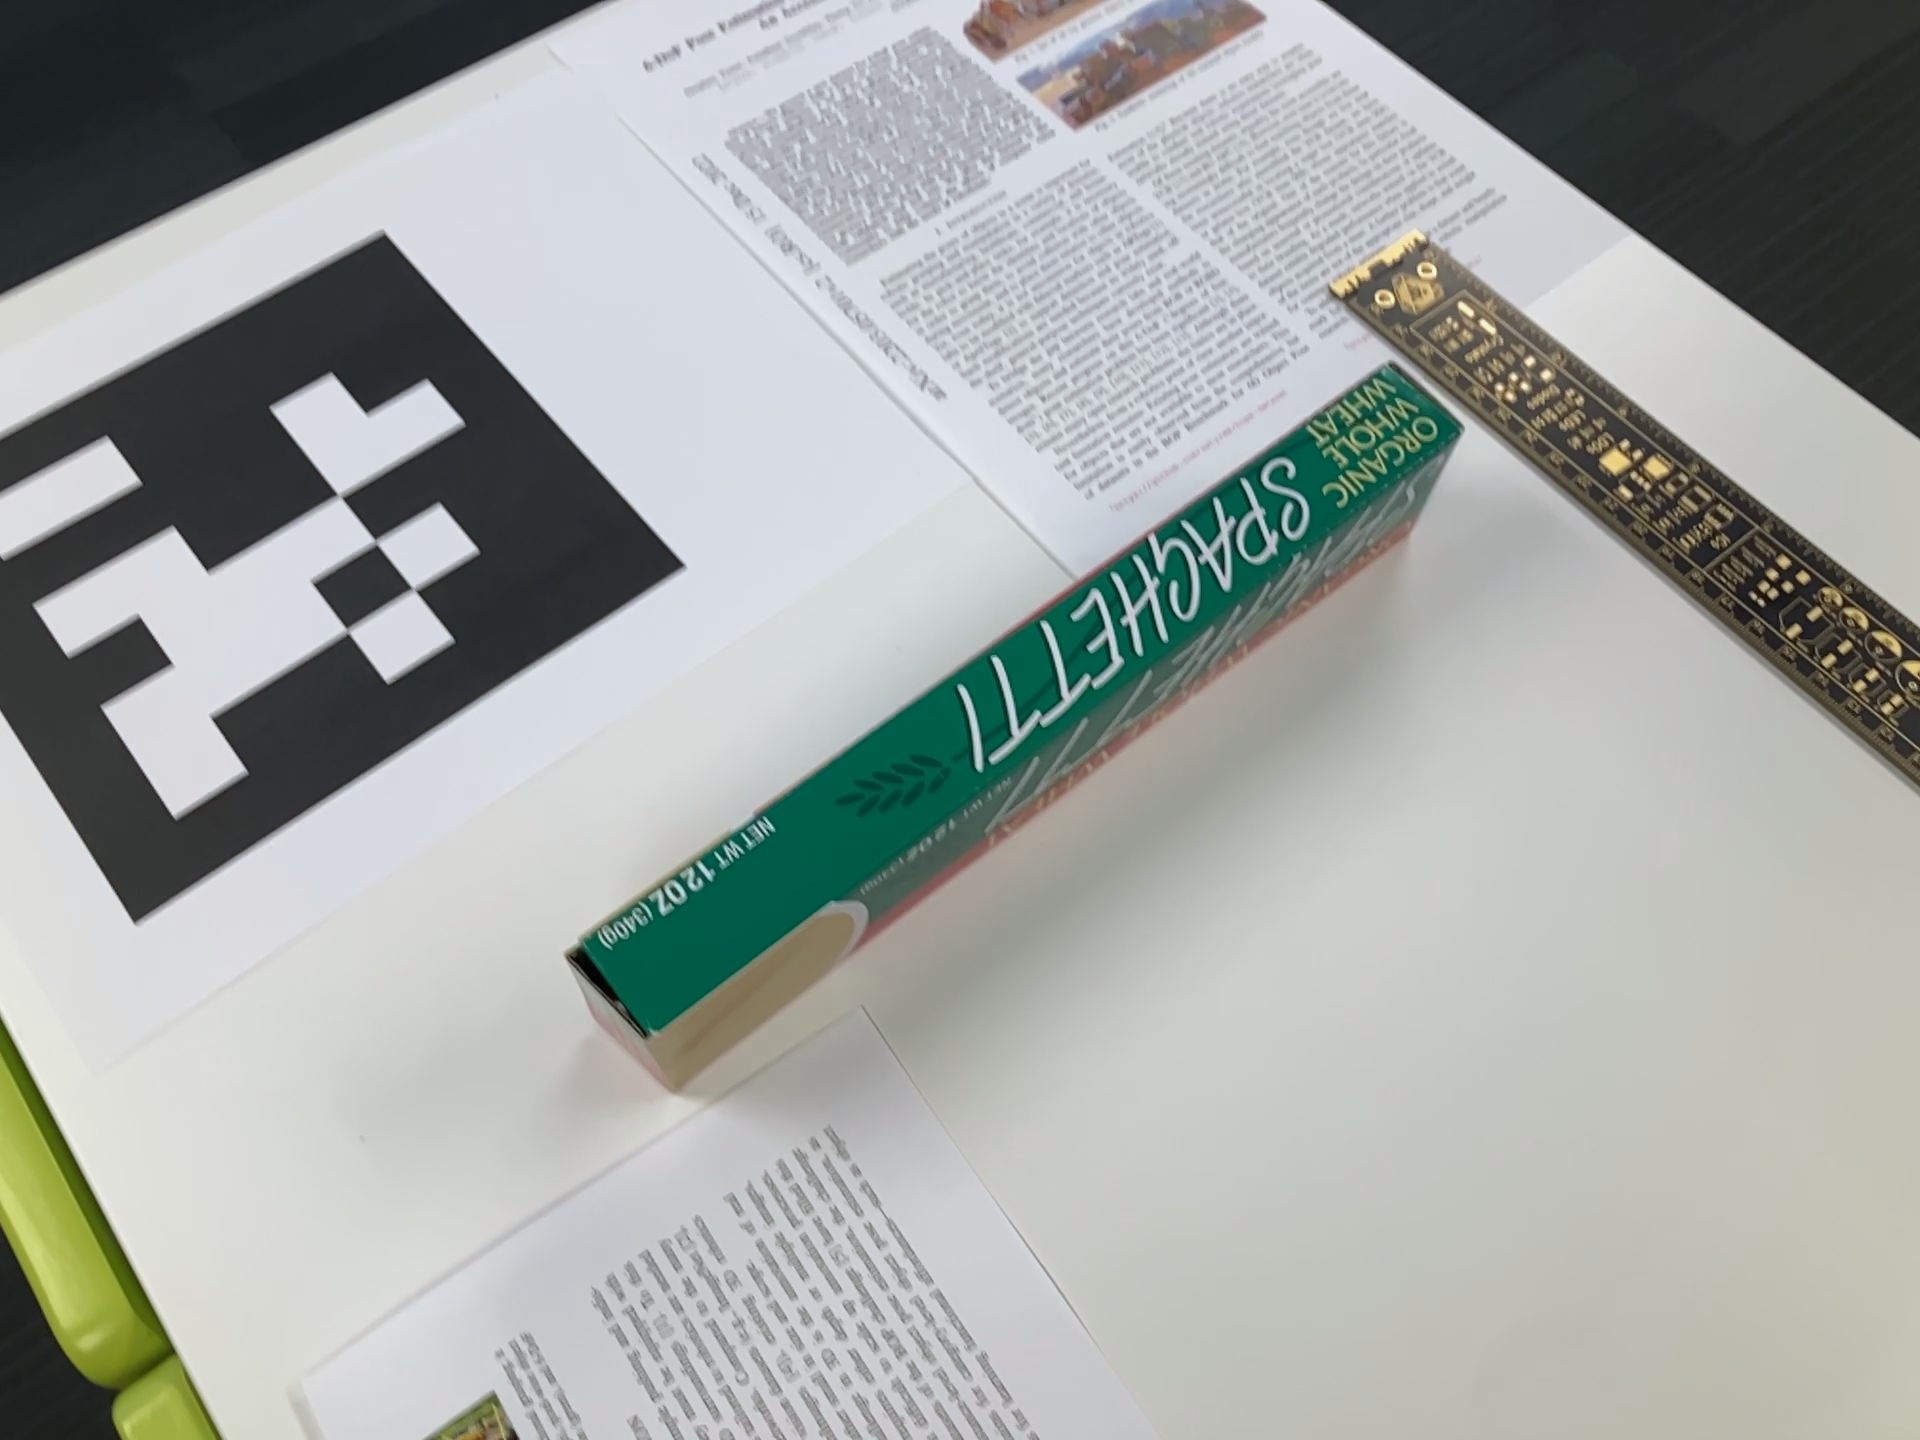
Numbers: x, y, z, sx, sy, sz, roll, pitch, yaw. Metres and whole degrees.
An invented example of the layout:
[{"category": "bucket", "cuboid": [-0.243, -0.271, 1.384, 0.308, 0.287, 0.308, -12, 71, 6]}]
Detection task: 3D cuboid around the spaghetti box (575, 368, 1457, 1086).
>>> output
[{"category": "spaghetti box", "cuboid": [0.022, -0.004, 0.386, 0.250, 0.050, 0.028, -36, 72, -18]}]
